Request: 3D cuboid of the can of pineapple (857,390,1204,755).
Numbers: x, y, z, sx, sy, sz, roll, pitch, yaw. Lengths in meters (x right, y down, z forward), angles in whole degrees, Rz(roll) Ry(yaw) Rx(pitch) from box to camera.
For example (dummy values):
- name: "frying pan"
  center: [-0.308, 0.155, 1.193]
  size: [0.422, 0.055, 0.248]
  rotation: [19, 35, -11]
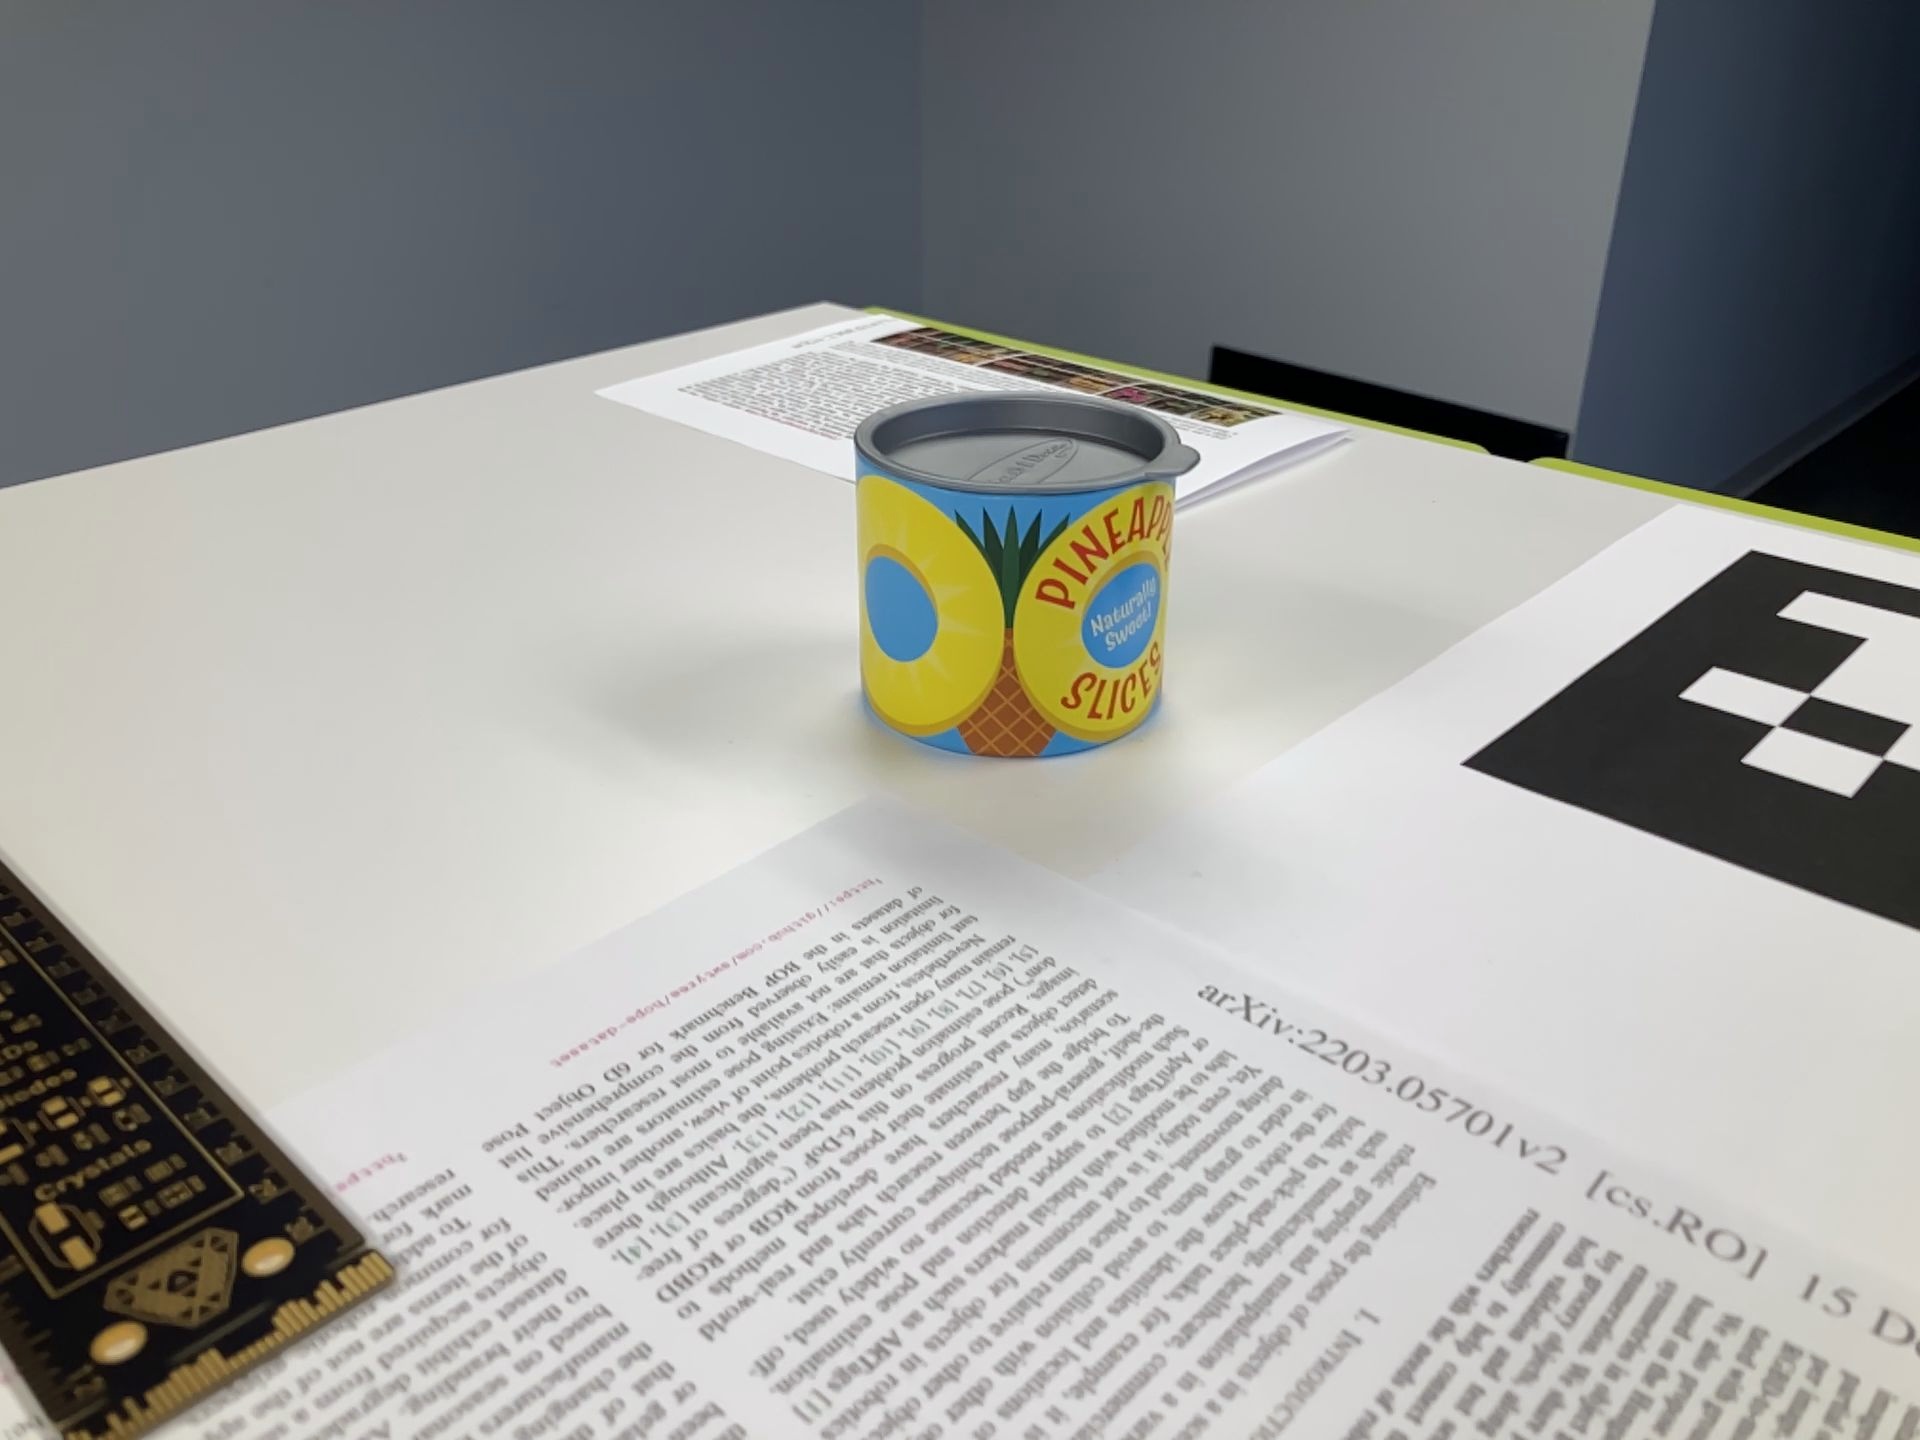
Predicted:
- name: "can of pineapple"
  center: [0.013, -0.032, 0.334]
  size: [0.071, 0.058, 0.071]
  rotation: [0, 28, 0]
